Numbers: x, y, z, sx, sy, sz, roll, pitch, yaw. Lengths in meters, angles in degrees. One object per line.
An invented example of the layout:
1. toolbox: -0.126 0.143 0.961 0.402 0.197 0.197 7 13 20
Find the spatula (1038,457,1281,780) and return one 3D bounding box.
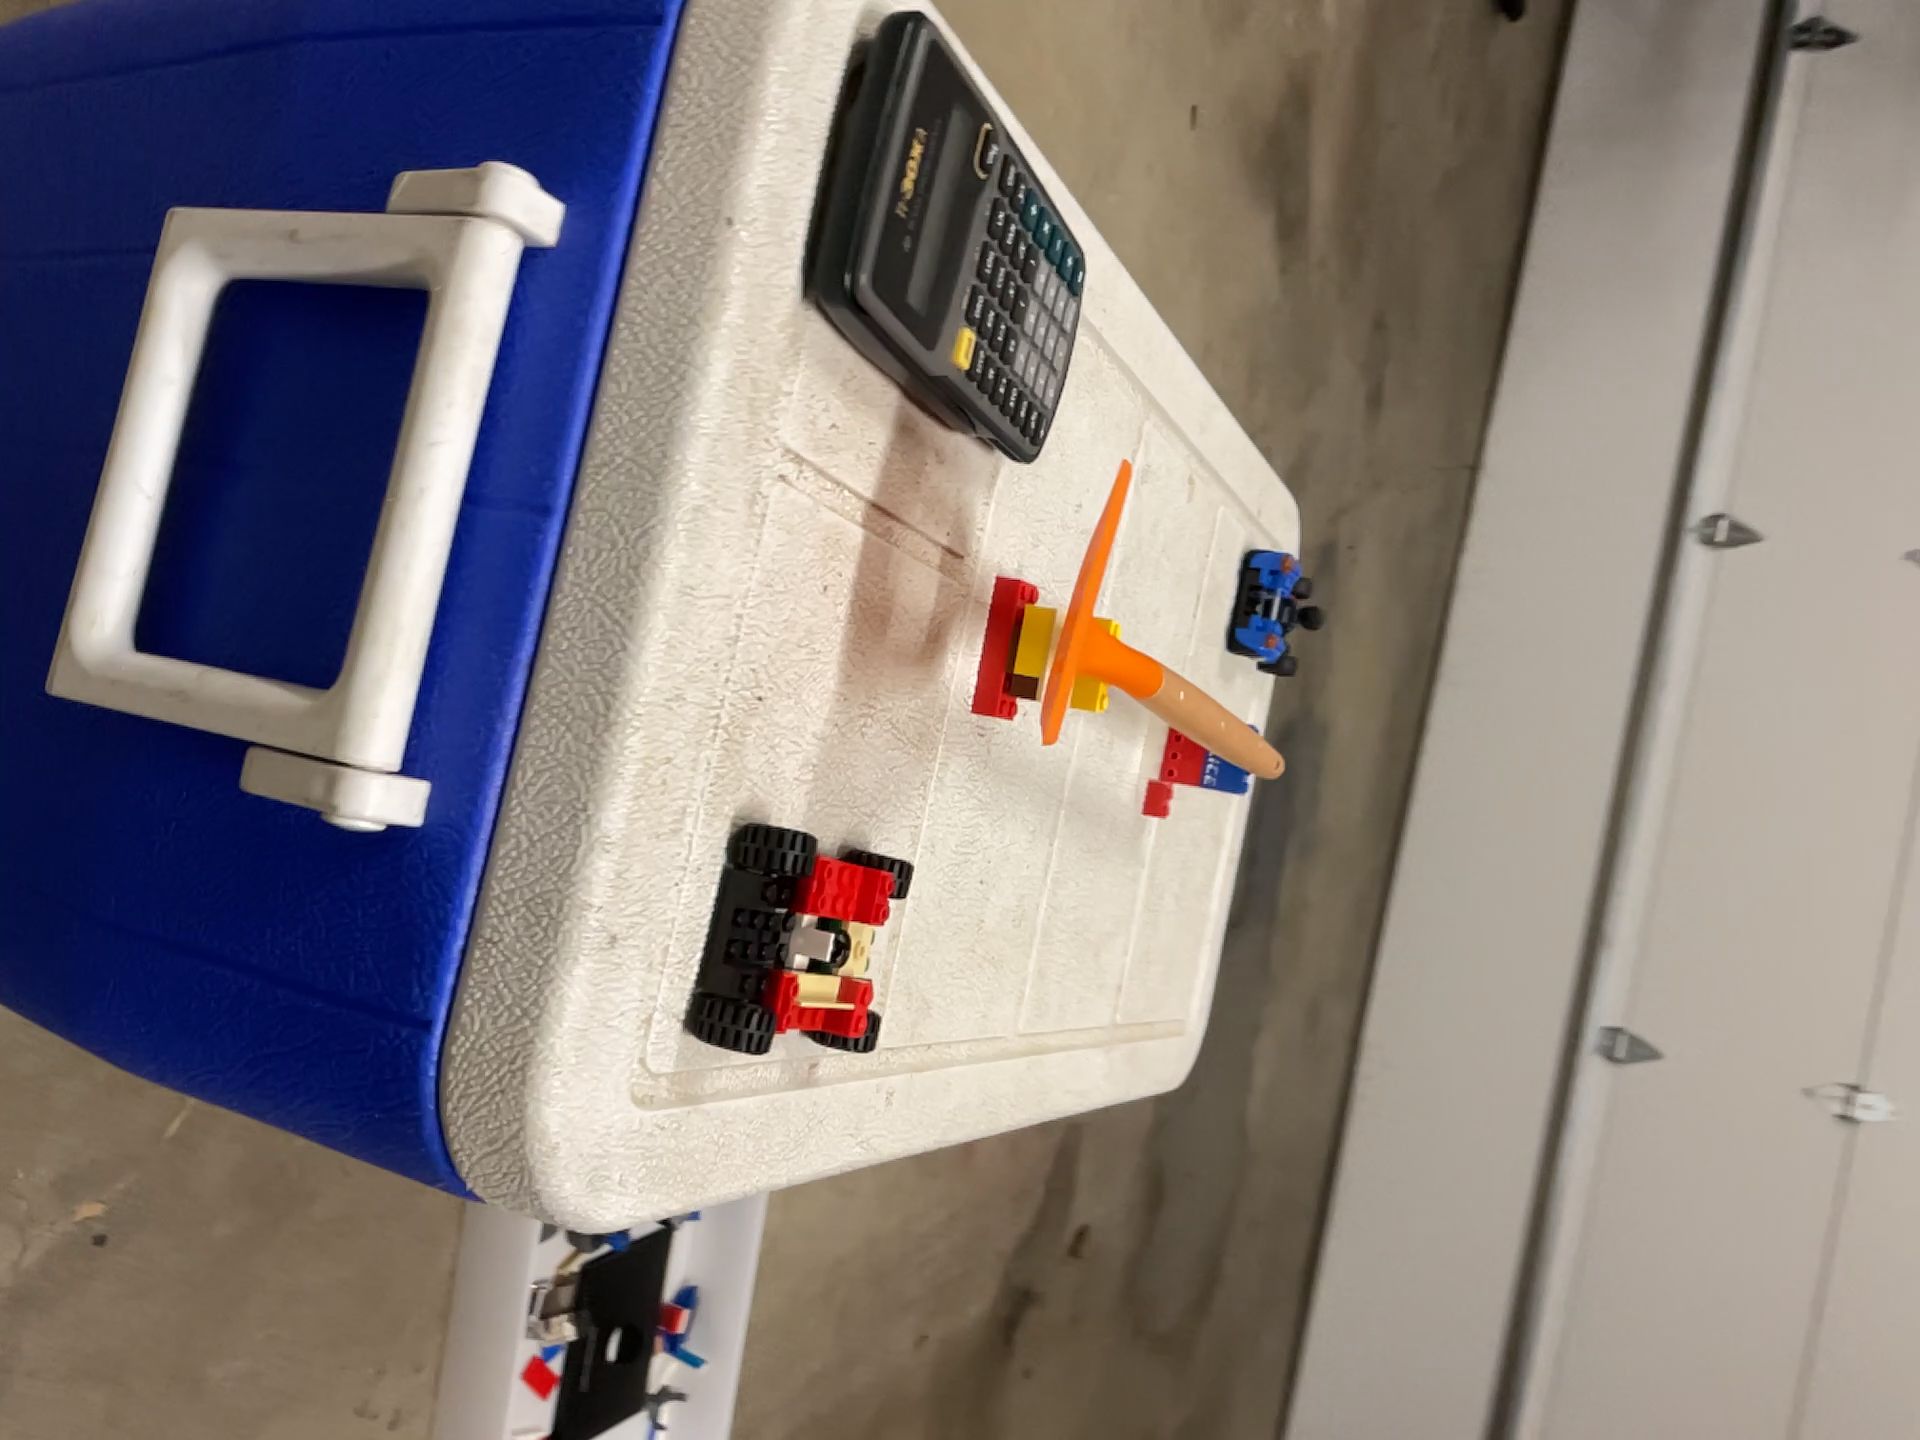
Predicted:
1. spatula: 0.080 -0.007 0.567 0.322 0.041 0.081 25 80 -64
